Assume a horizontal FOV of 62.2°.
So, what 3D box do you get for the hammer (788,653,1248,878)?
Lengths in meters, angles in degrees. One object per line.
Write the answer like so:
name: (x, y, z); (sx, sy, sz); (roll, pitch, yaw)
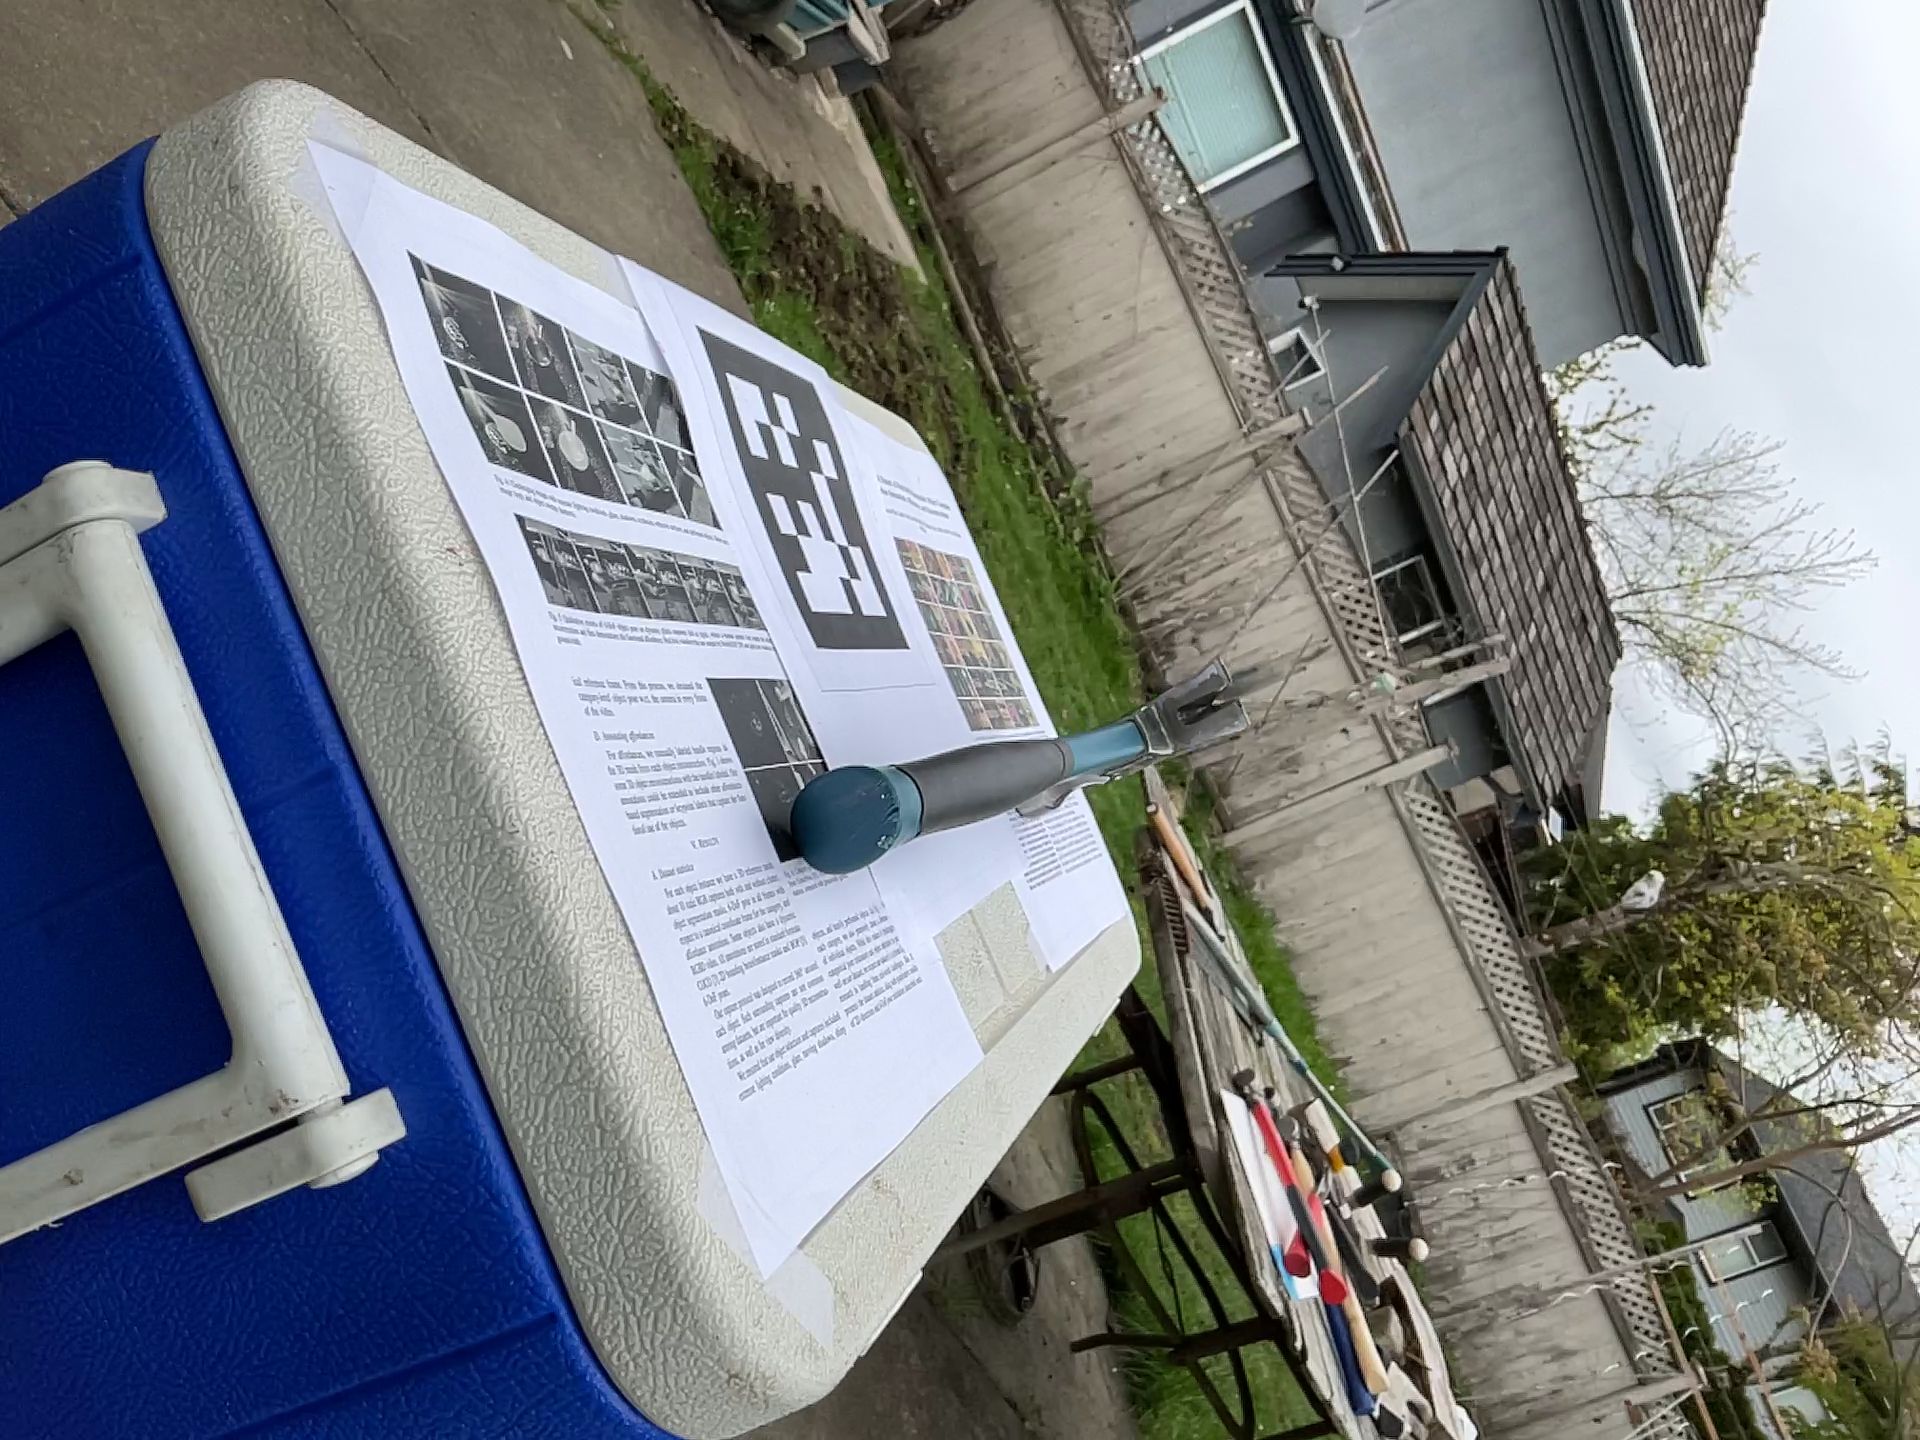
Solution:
hammer: (0.025, 0.020, 0.609); (0.033, 0.128, 0.331); (66, 21, 6)
